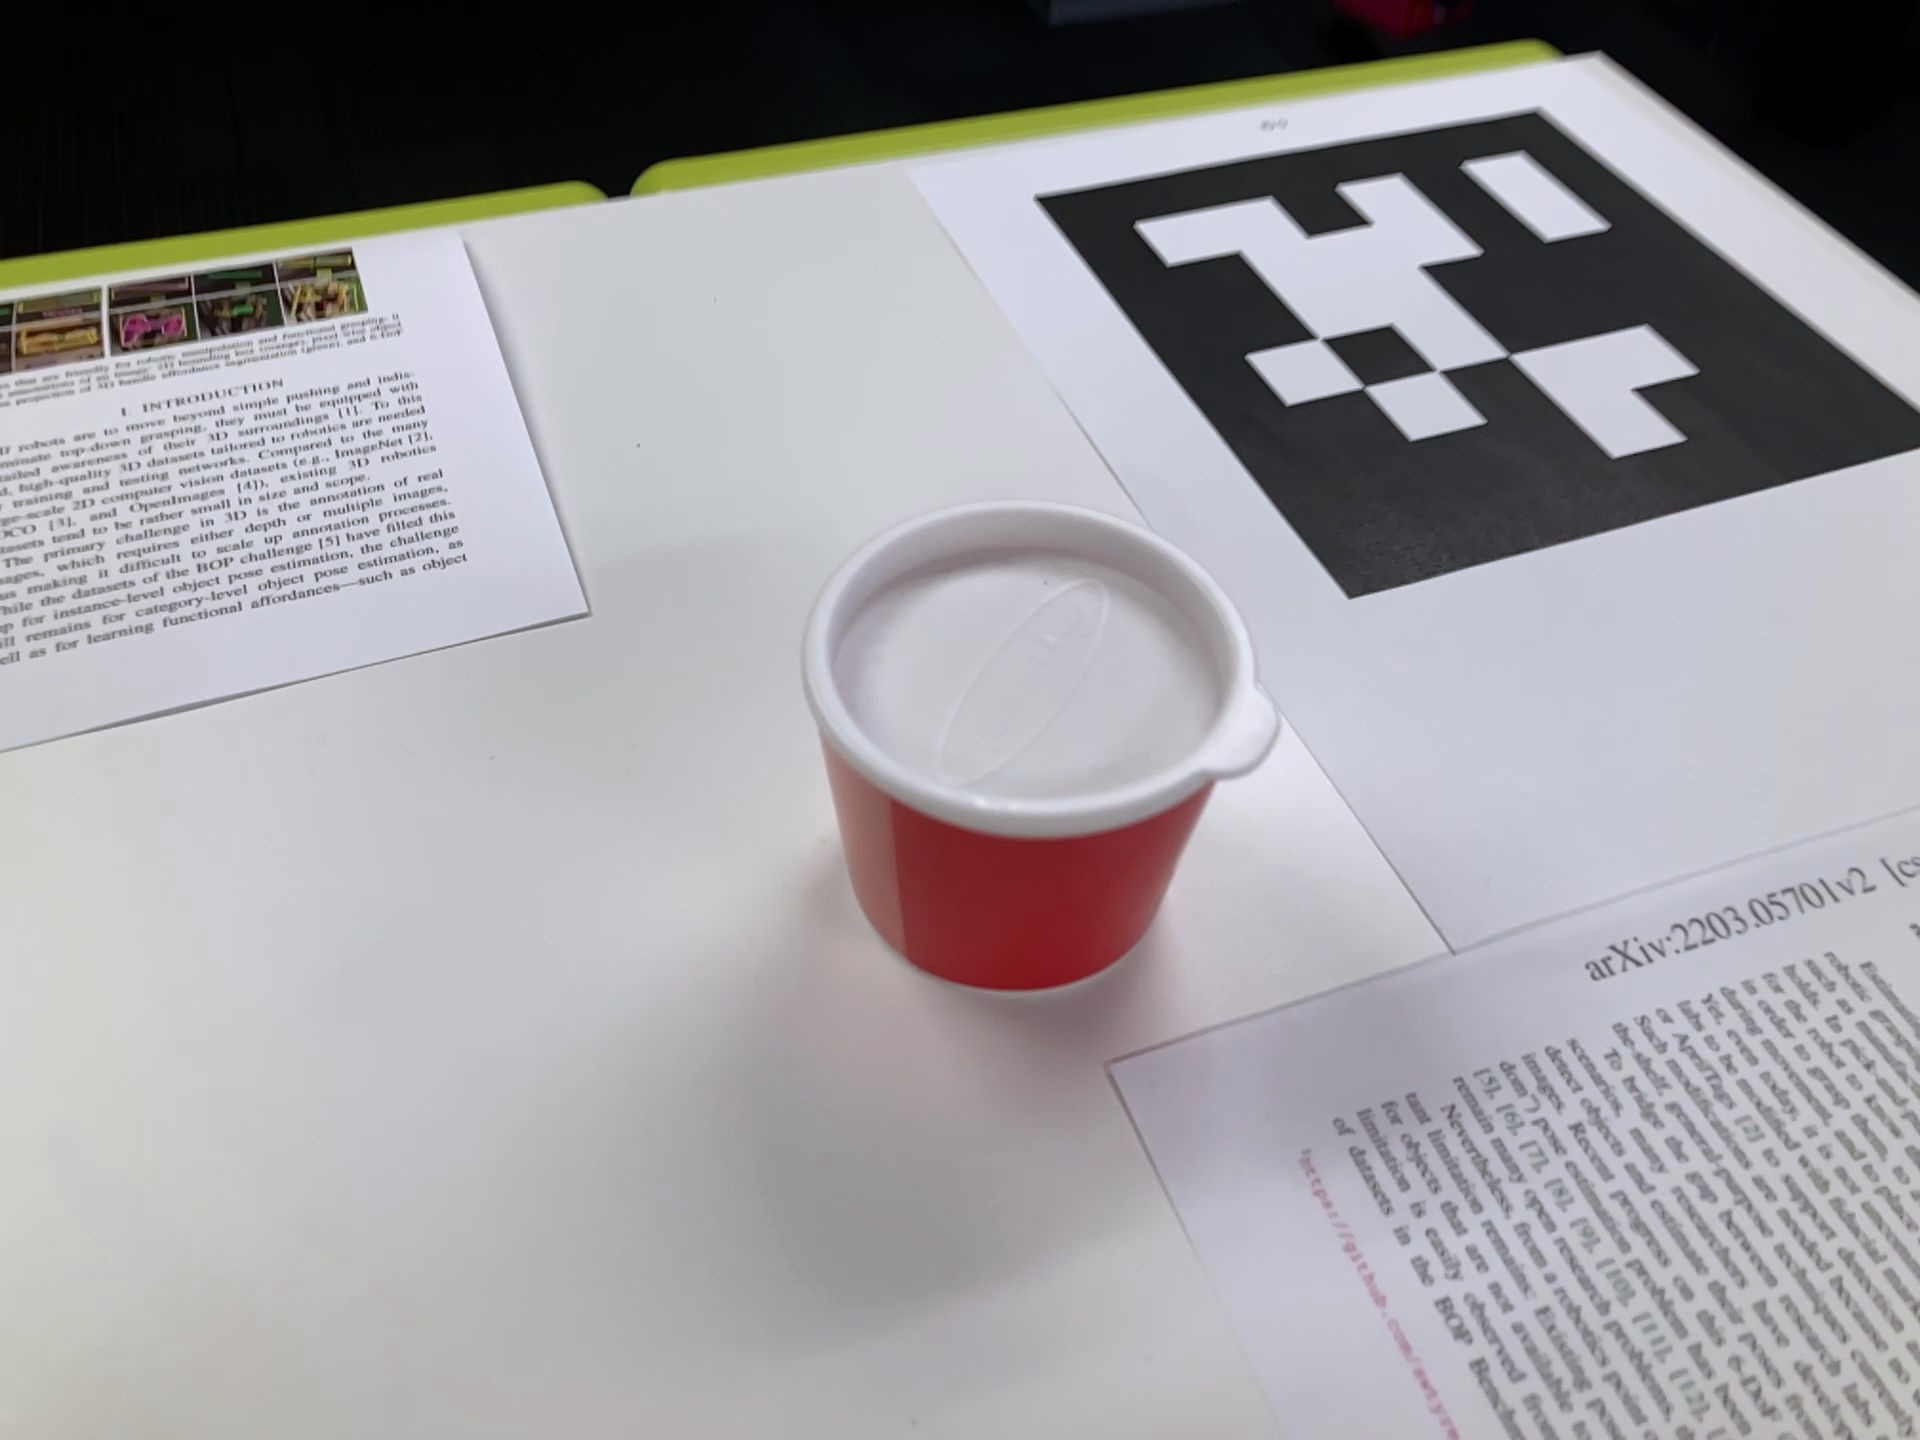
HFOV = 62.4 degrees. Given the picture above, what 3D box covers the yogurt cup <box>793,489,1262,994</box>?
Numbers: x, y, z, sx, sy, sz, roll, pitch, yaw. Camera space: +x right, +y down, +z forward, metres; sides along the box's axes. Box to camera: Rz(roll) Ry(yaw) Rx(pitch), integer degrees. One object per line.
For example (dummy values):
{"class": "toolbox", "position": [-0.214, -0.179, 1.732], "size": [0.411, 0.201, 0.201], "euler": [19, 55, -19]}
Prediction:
{"class": "yogurt cup", "position": [0.009, 0.006, 0.249], "size": [0.072, 0.054, 0.072], "euler": [1, 47, -1]}
